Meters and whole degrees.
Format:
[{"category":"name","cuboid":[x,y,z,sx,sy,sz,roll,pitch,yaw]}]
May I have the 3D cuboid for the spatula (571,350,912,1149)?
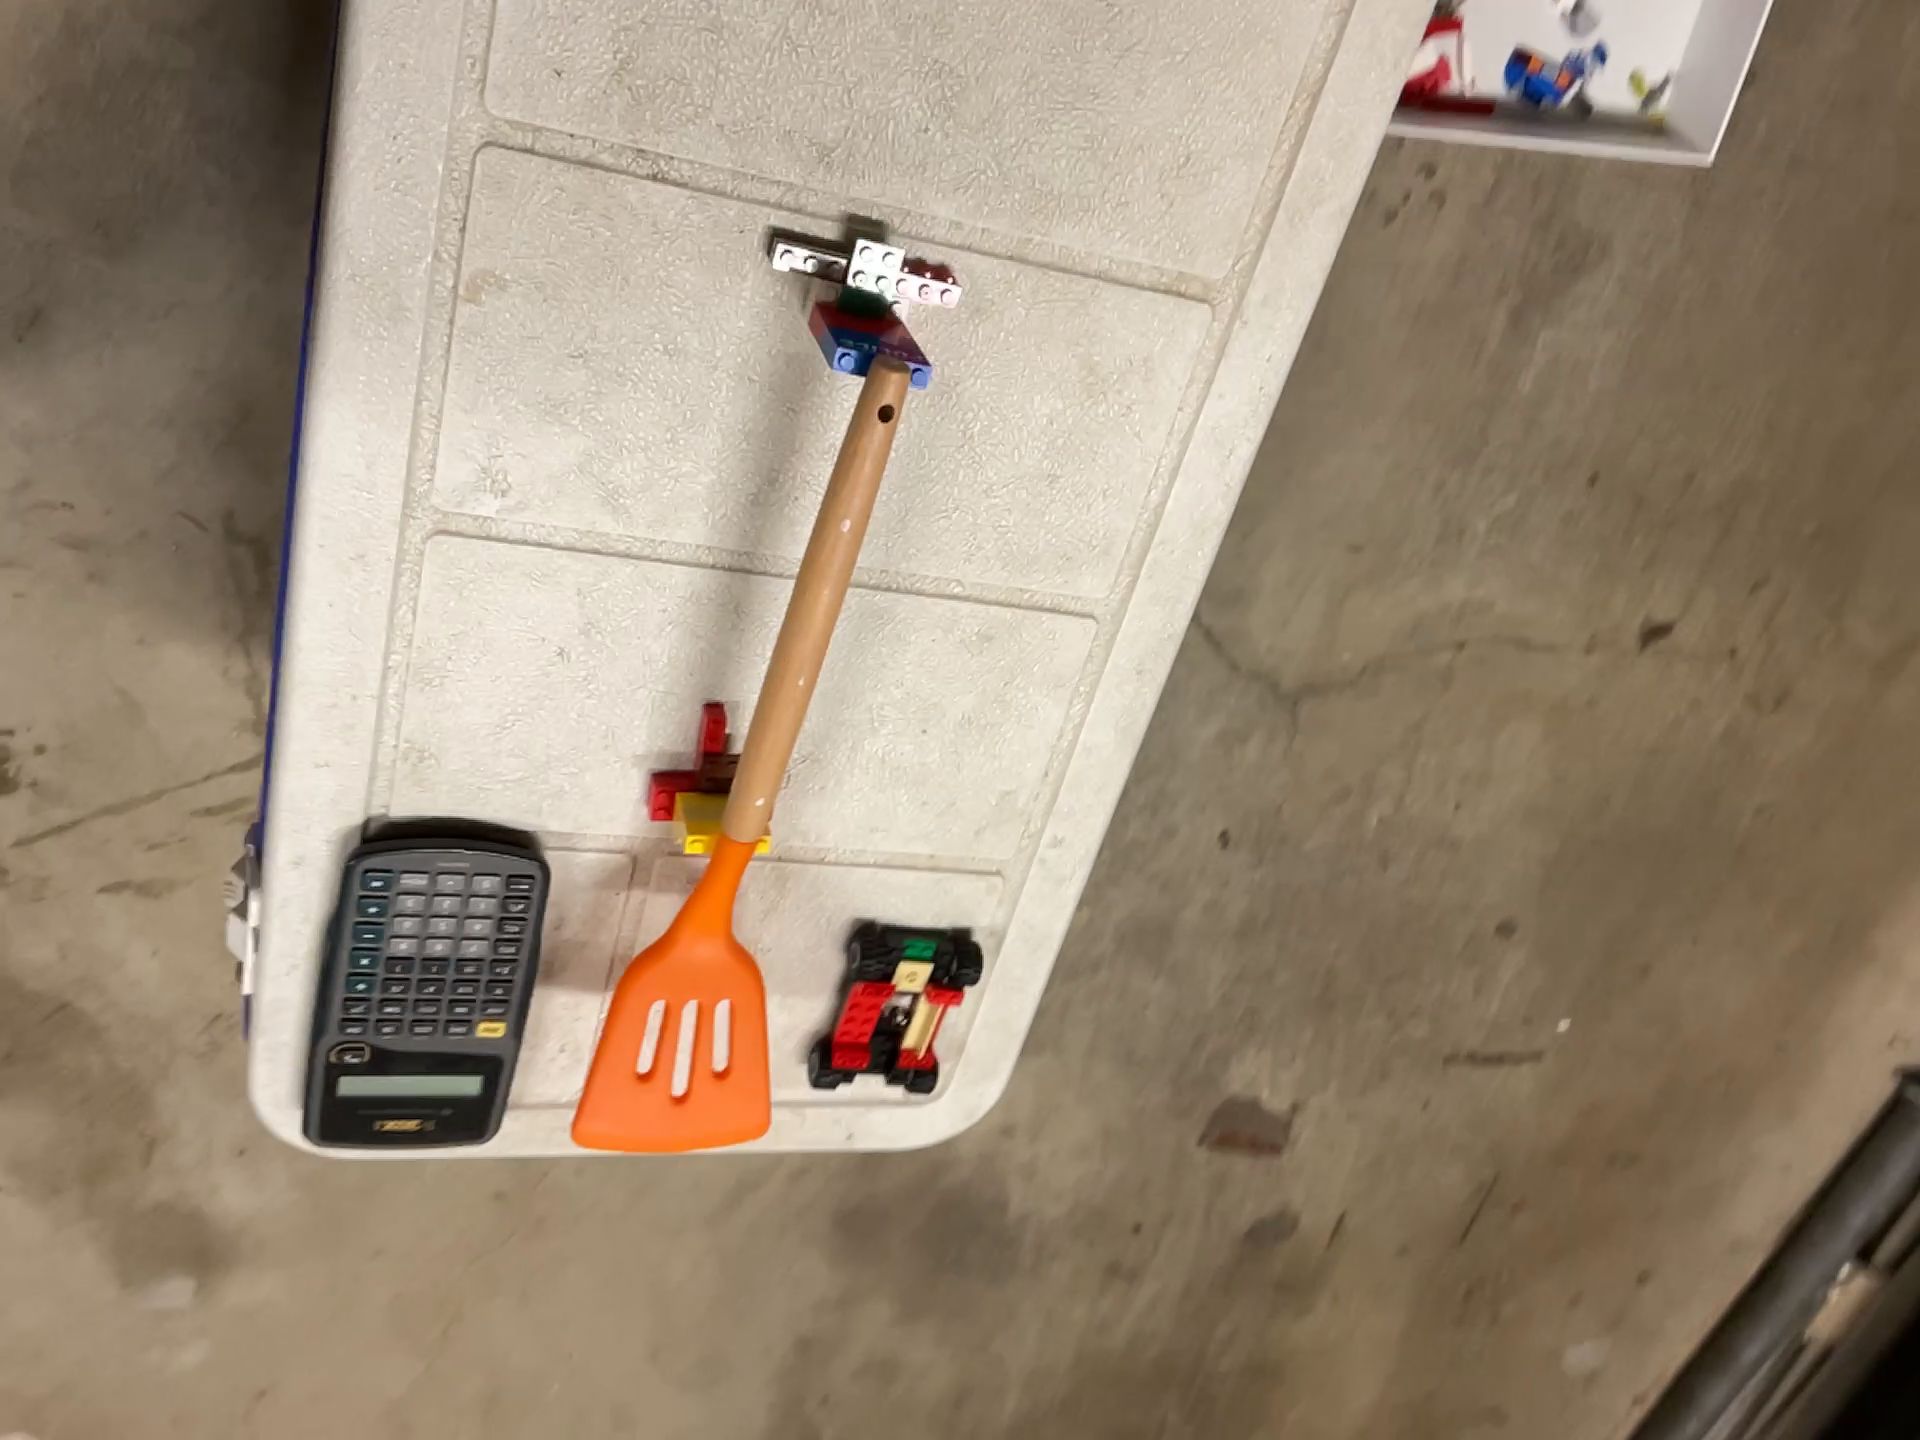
[{"category":"spatula","cuboid":[-0.069,0.024,0.563,0.081,0.041,0.322,6,122,-26]}]
